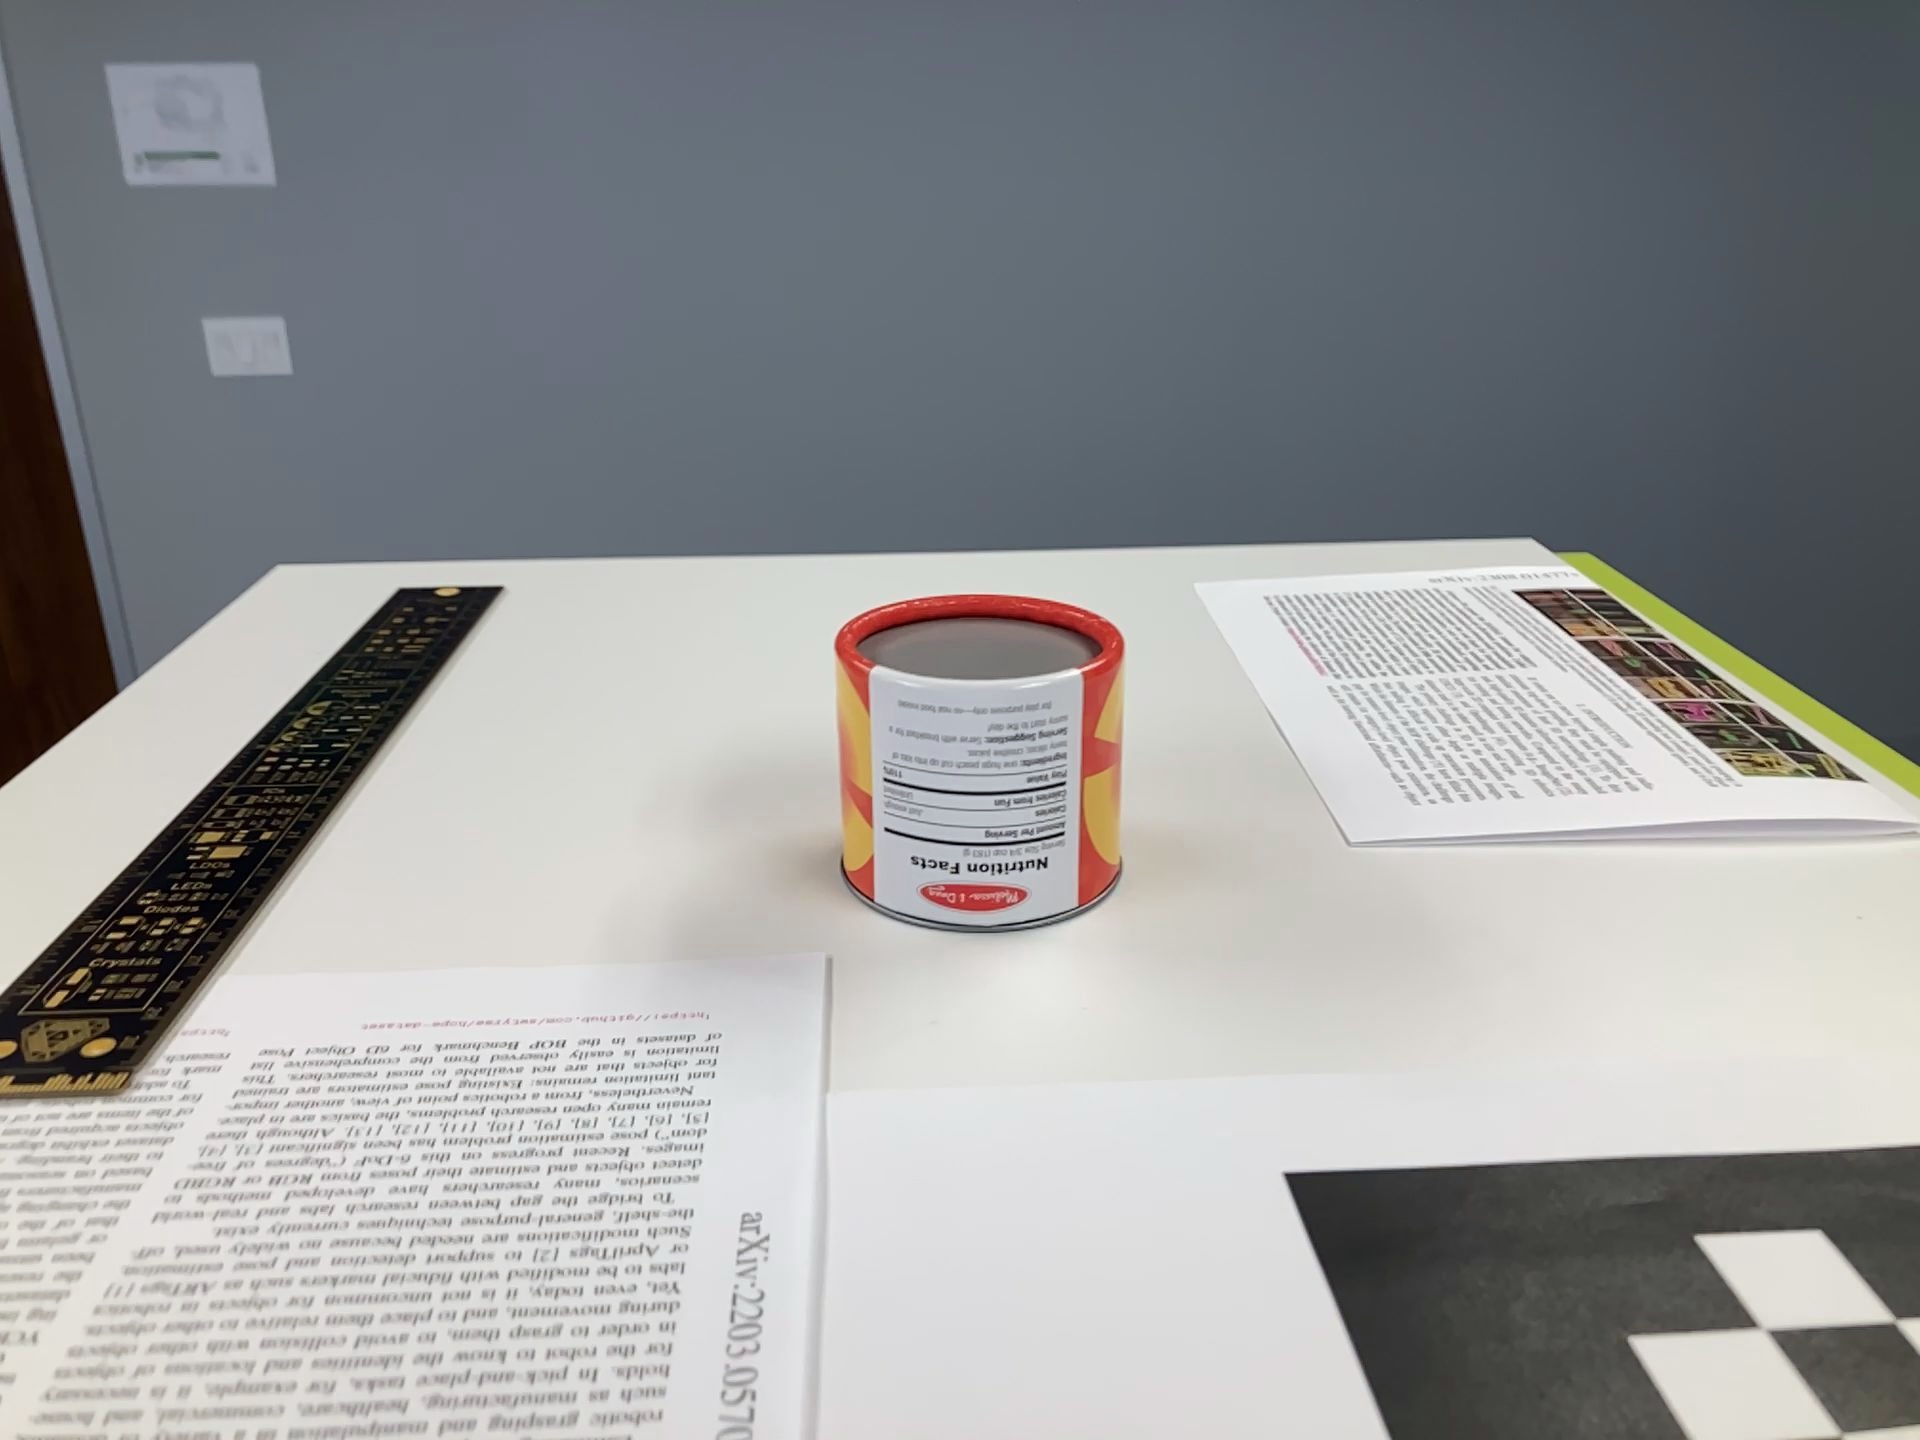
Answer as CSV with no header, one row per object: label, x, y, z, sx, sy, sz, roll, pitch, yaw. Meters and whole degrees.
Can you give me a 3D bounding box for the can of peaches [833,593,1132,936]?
can of peaches,0.005,0.007,0.360,0.071,0.058,0.071,-1,22,0
